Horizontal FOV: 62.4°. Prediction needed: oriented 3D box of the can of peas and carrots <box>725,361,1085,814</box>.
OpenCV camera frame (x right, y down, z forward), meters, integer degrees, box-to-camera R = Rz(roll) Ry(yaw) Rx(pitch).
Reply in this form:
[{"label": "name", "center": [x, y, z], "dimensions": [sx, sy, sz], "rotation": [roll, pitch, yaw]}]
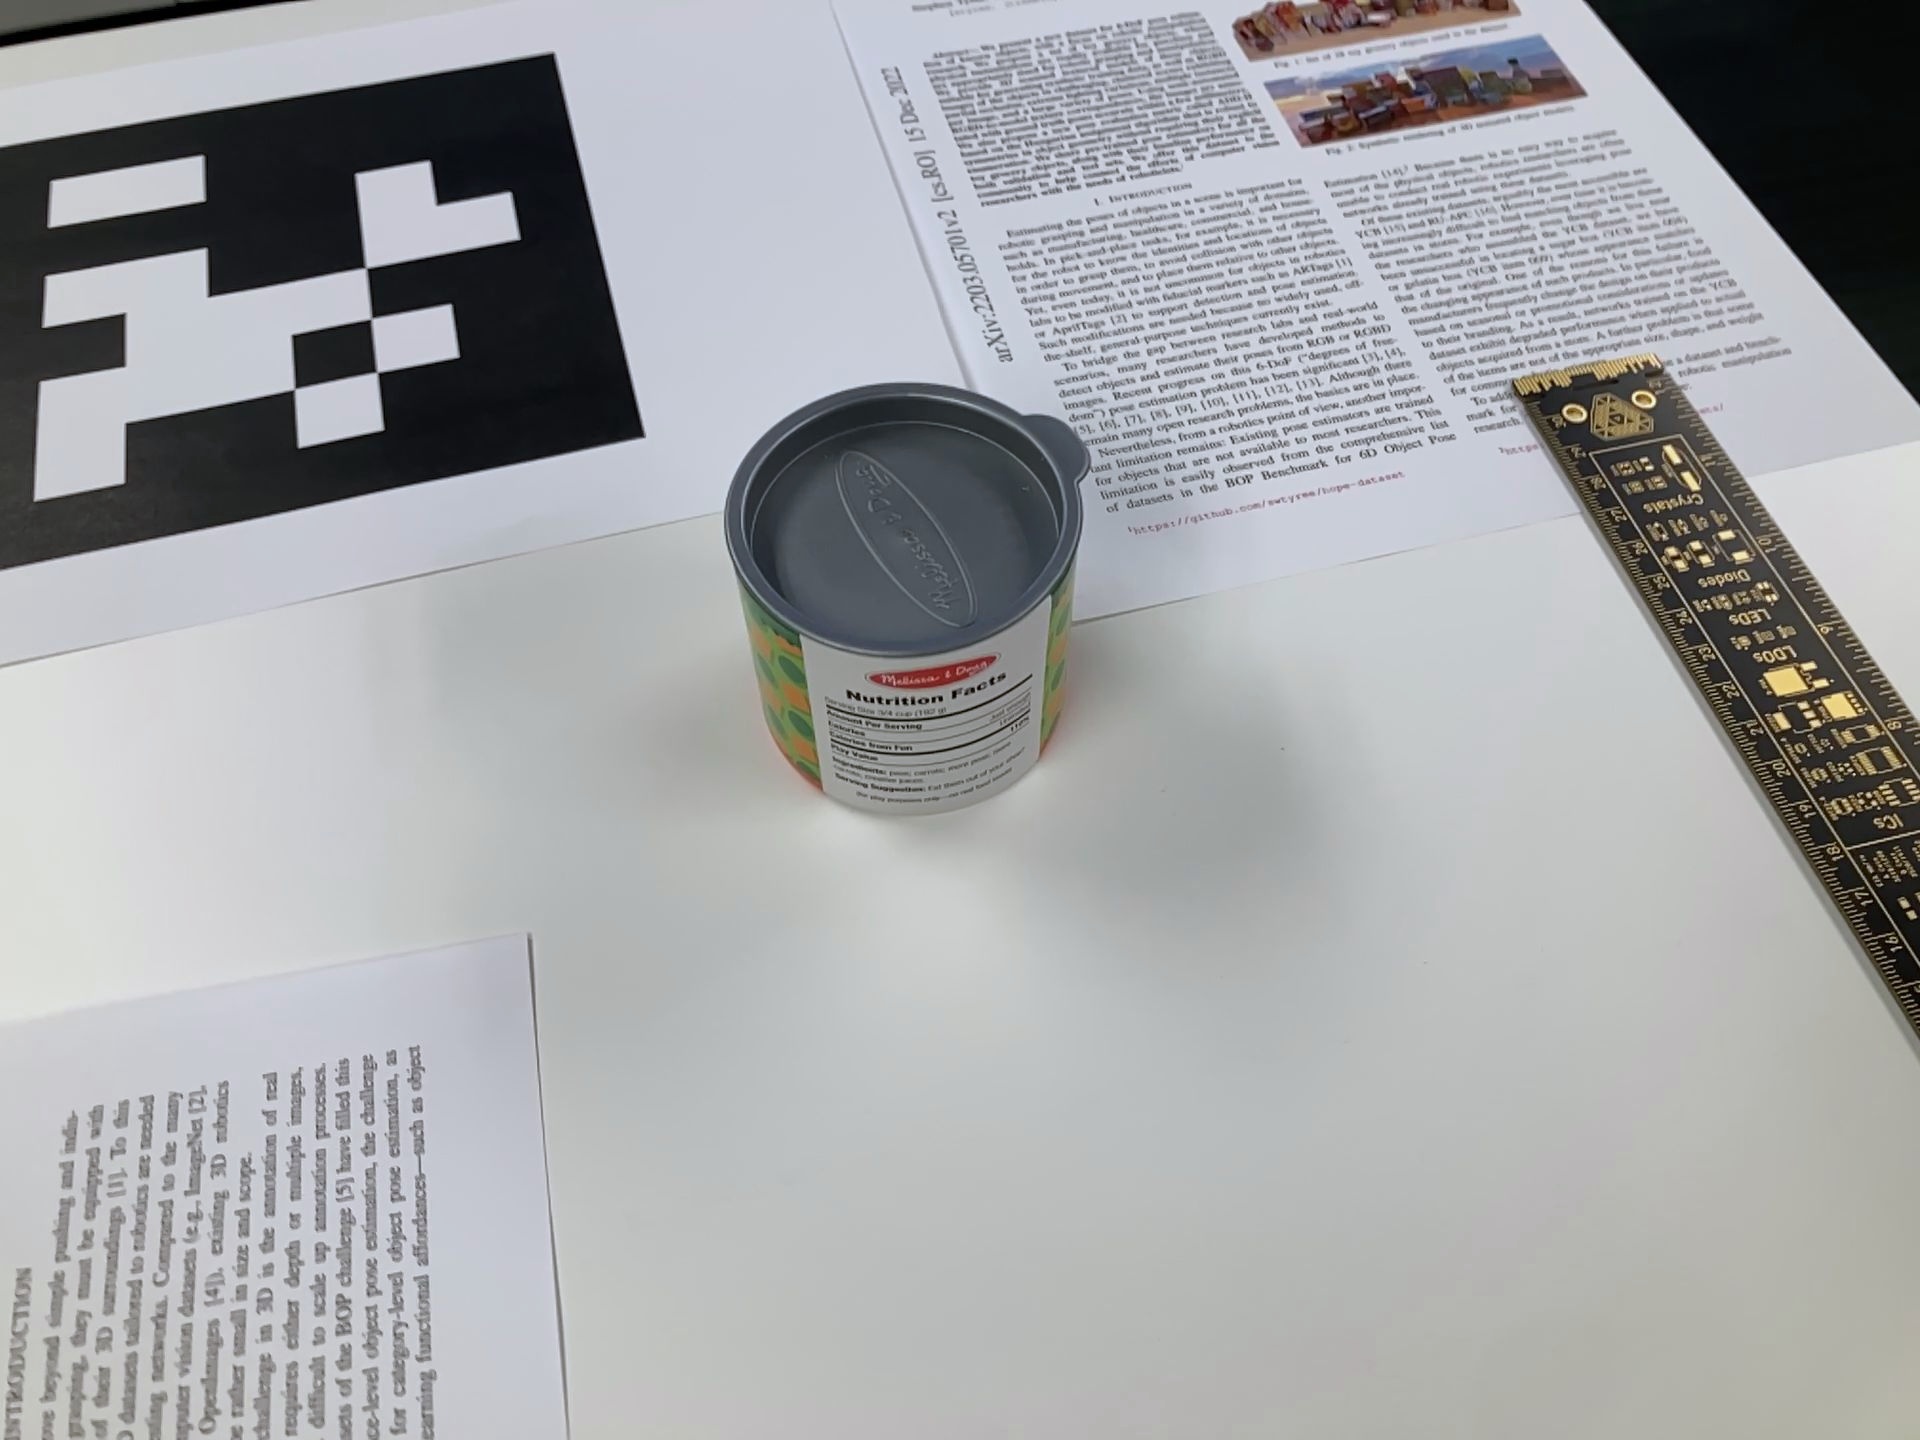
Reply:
[{"label": "can of peas and carrots", "center": [-0.010, -0.025, 0.317], "dimensions": [0.071, 0.059, 0.071], "rotation": [0, 56, 0]}]
